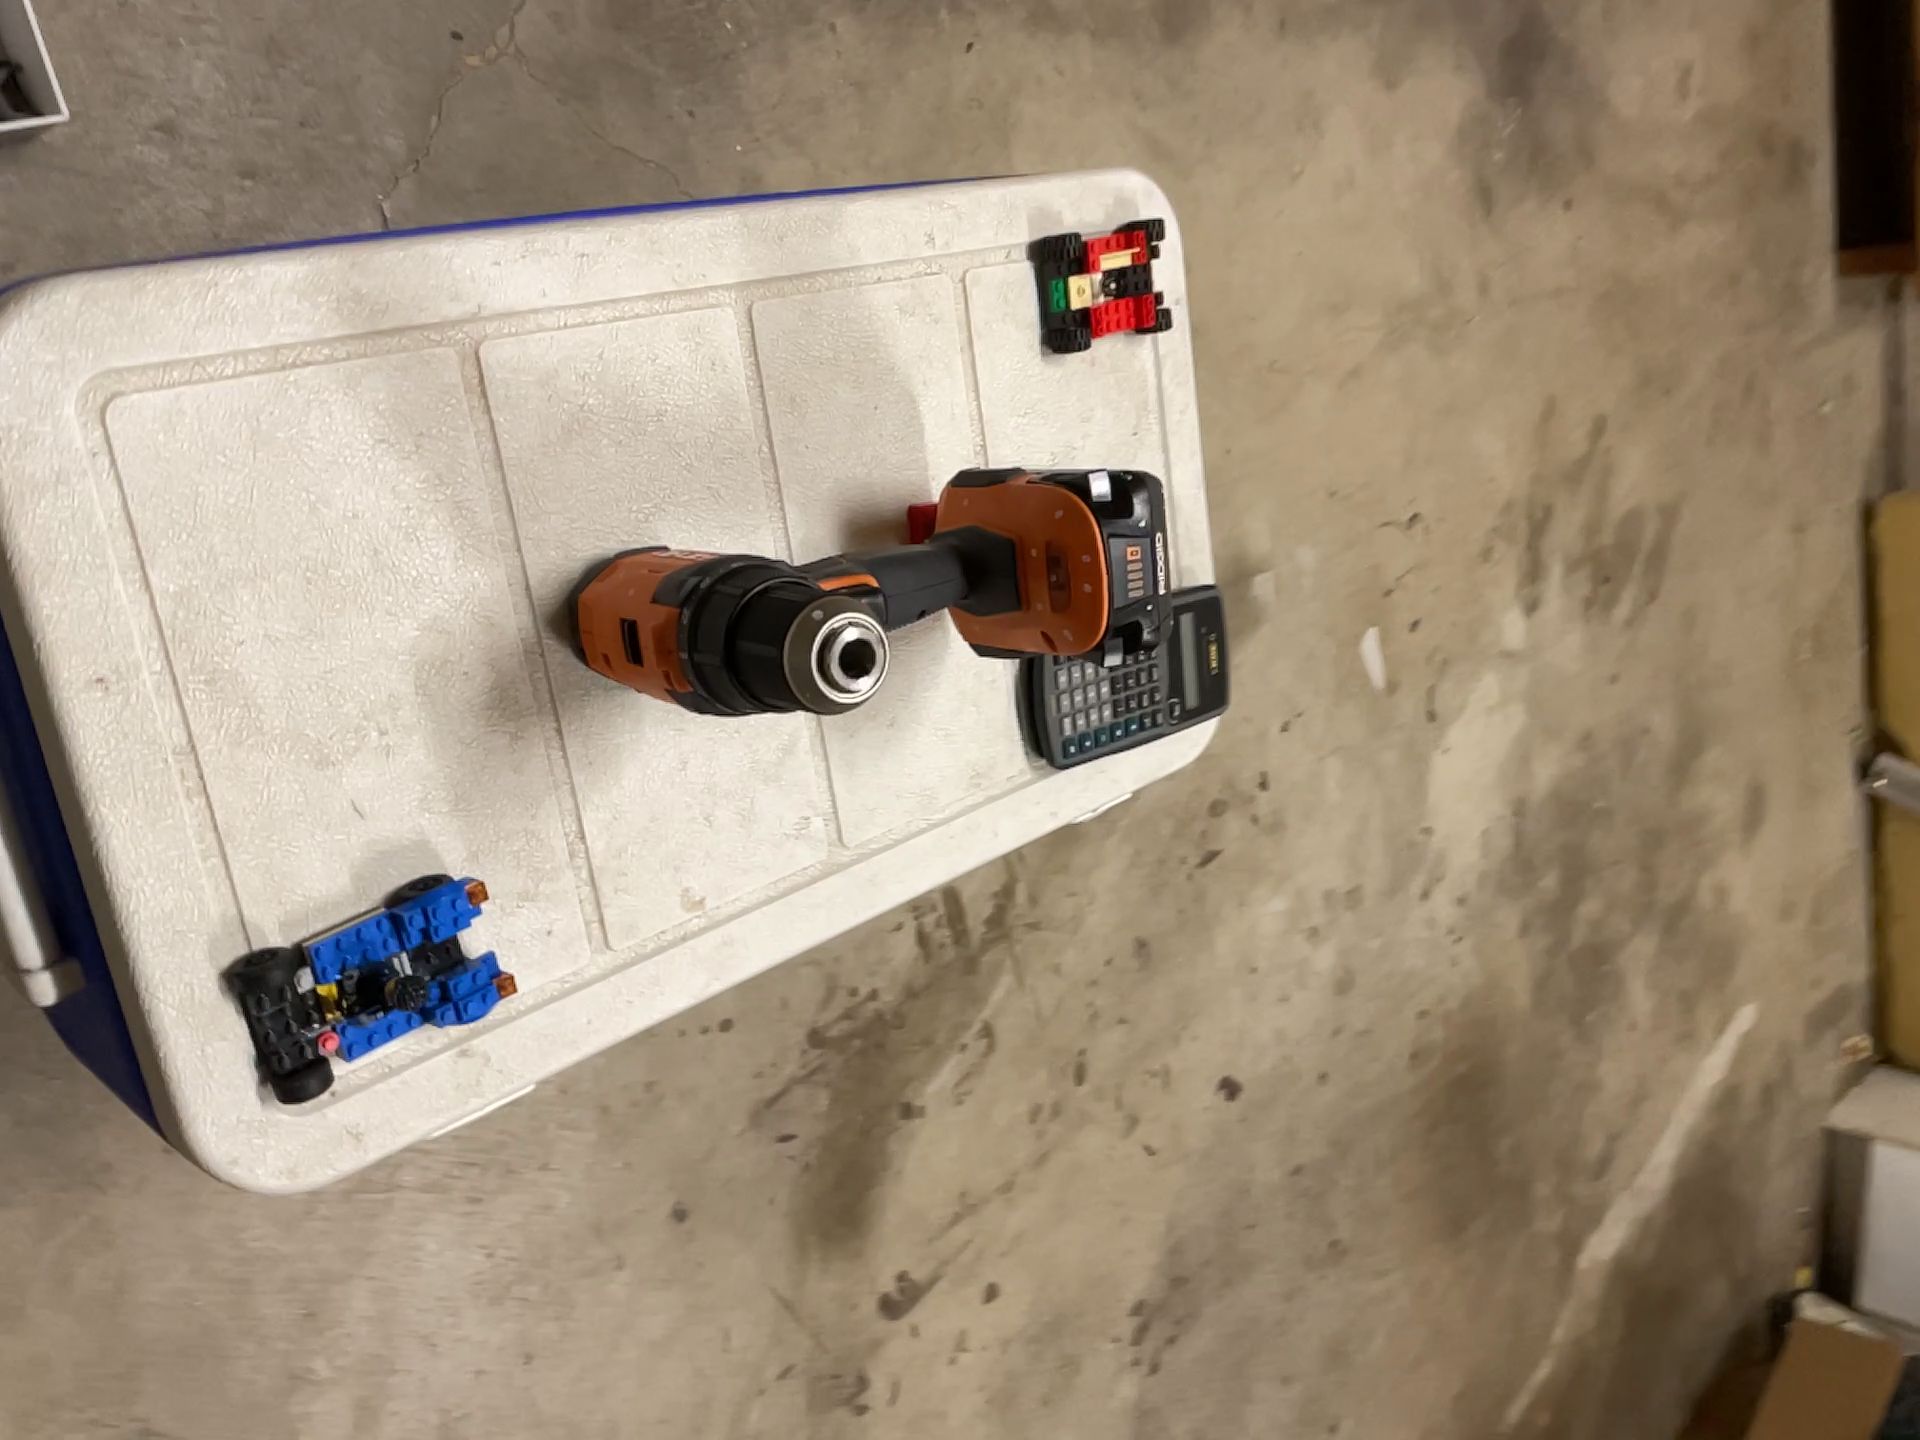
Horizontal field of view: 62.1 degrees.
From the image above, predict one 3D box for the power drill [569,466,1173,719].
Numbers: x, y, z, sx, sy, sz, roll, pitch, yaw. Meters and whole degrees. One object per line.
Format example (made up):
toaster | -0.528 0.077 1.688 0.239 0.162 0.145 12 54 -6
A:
power drill | -0.019 -0.049 0.634 0.226 0.185 0.084 -14 105 -31
